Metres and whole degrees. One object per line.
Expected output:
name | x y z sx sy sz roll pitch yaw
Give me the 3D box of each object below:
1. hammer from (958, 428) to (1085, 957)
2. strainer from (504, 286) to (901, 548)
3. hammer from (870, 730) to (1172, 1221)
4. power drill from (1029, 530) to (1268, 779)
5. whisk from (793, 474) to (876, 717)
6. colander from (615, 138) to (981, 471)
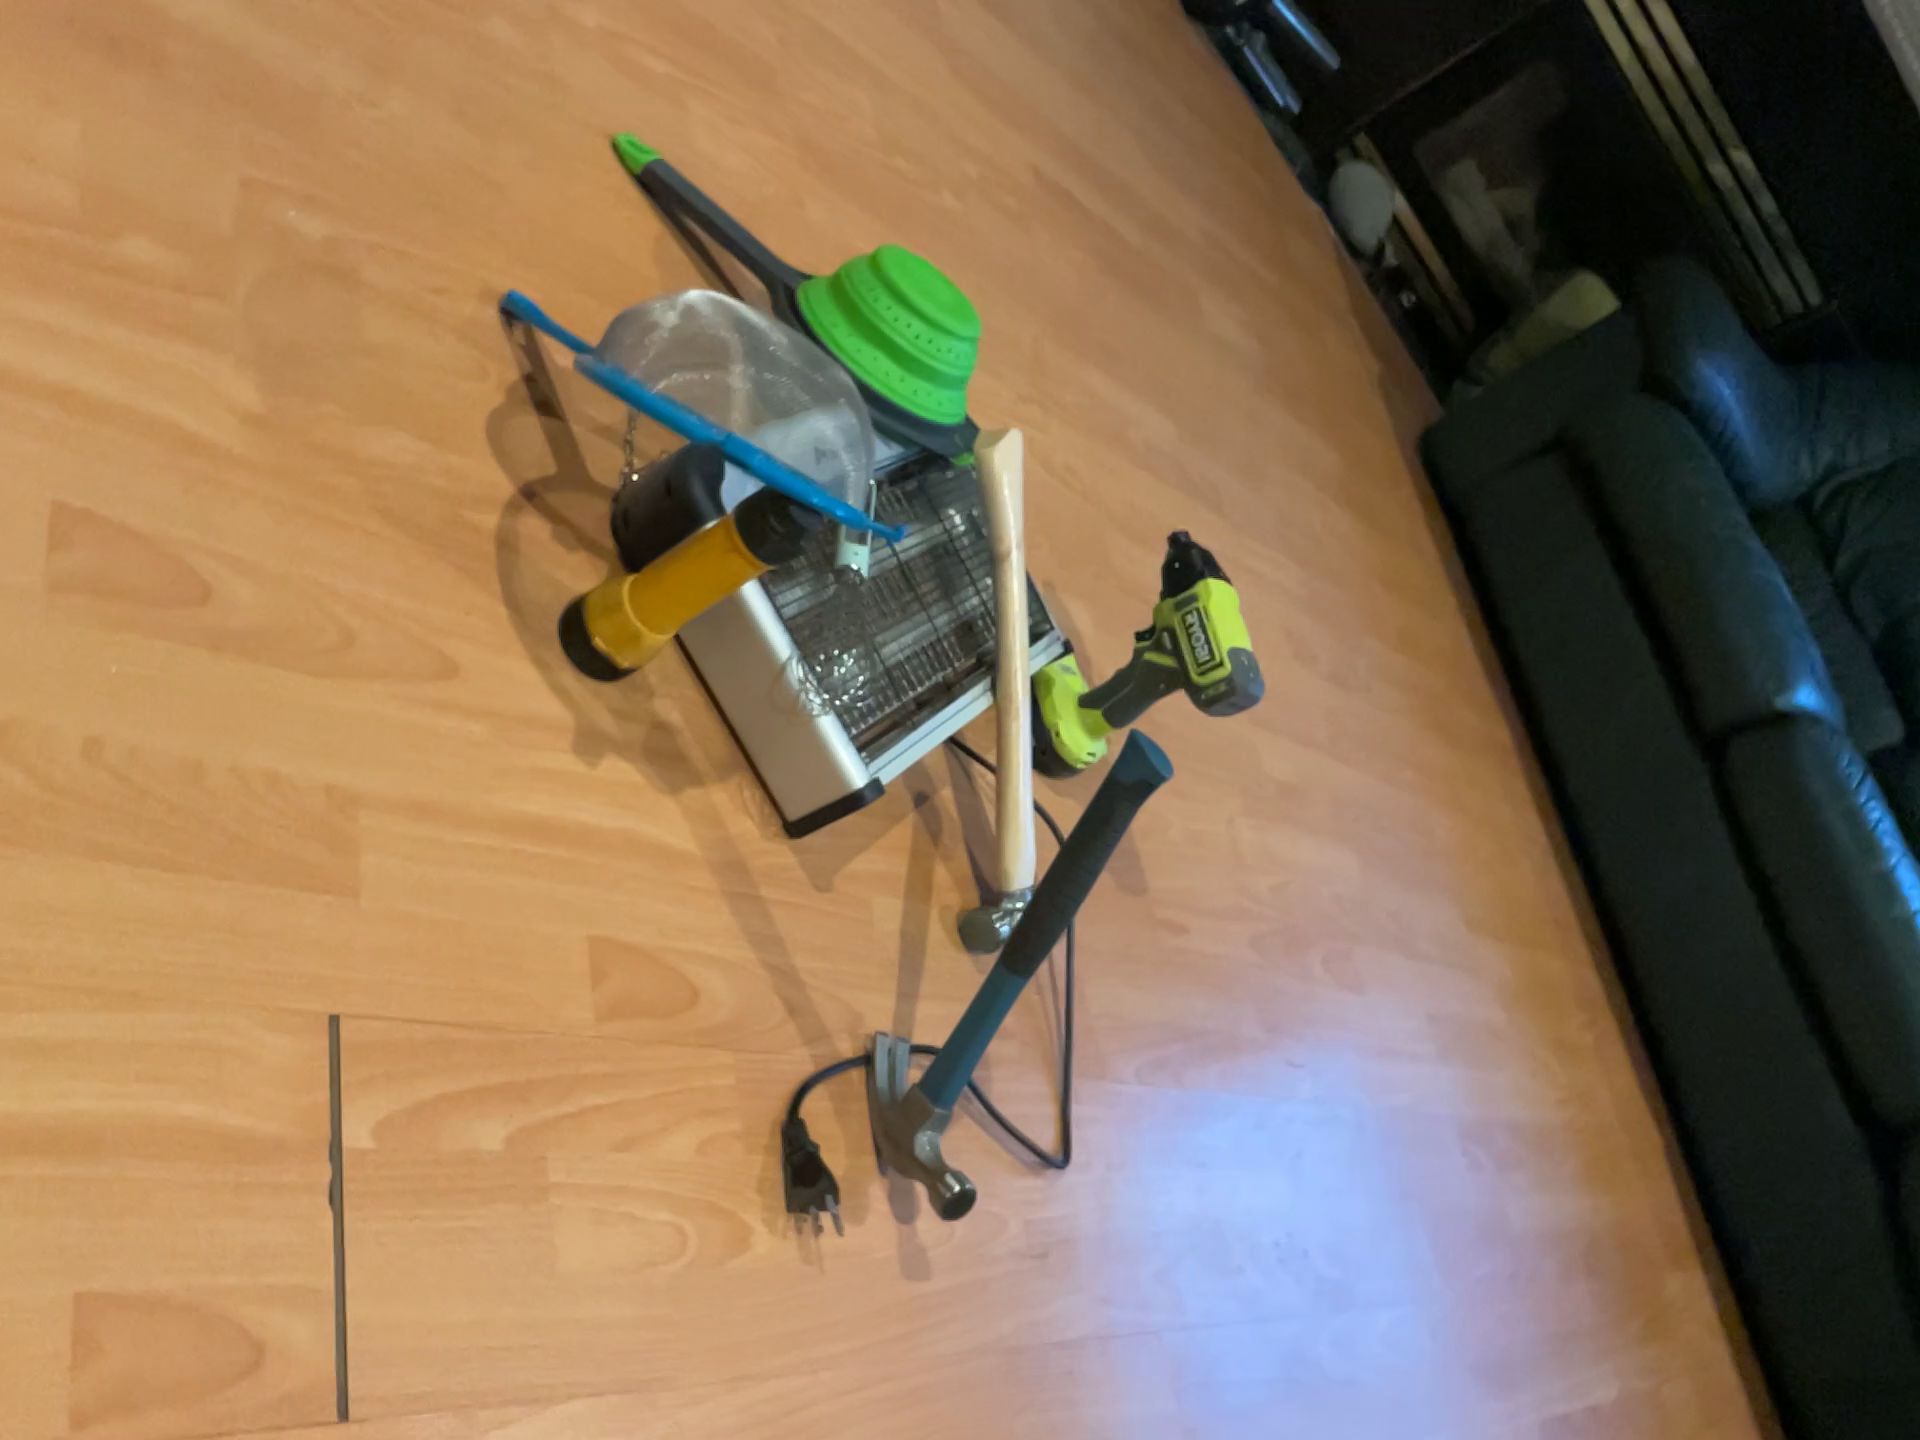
hammer | 0.046 -0.025 1.291 0.146 0.038 0.410 -8 97 -56
strainer | -0.178 -0.242 1.059 0.340 0.095 0.211 36 8 28
hammer | 0.043 0.157 1.065 0.033 0.331 0.128 27 6 -43
power drill | 0.151 -0.054 1.432 0.080 0.223 0.171 14 55 -51
whisk | -0.081 -0.097 1.149 0.058 0.059 0.246 15 45 -13
colander | -0.112 -0.377 1.338 0.397 0.094 0.205 40 27 -3
